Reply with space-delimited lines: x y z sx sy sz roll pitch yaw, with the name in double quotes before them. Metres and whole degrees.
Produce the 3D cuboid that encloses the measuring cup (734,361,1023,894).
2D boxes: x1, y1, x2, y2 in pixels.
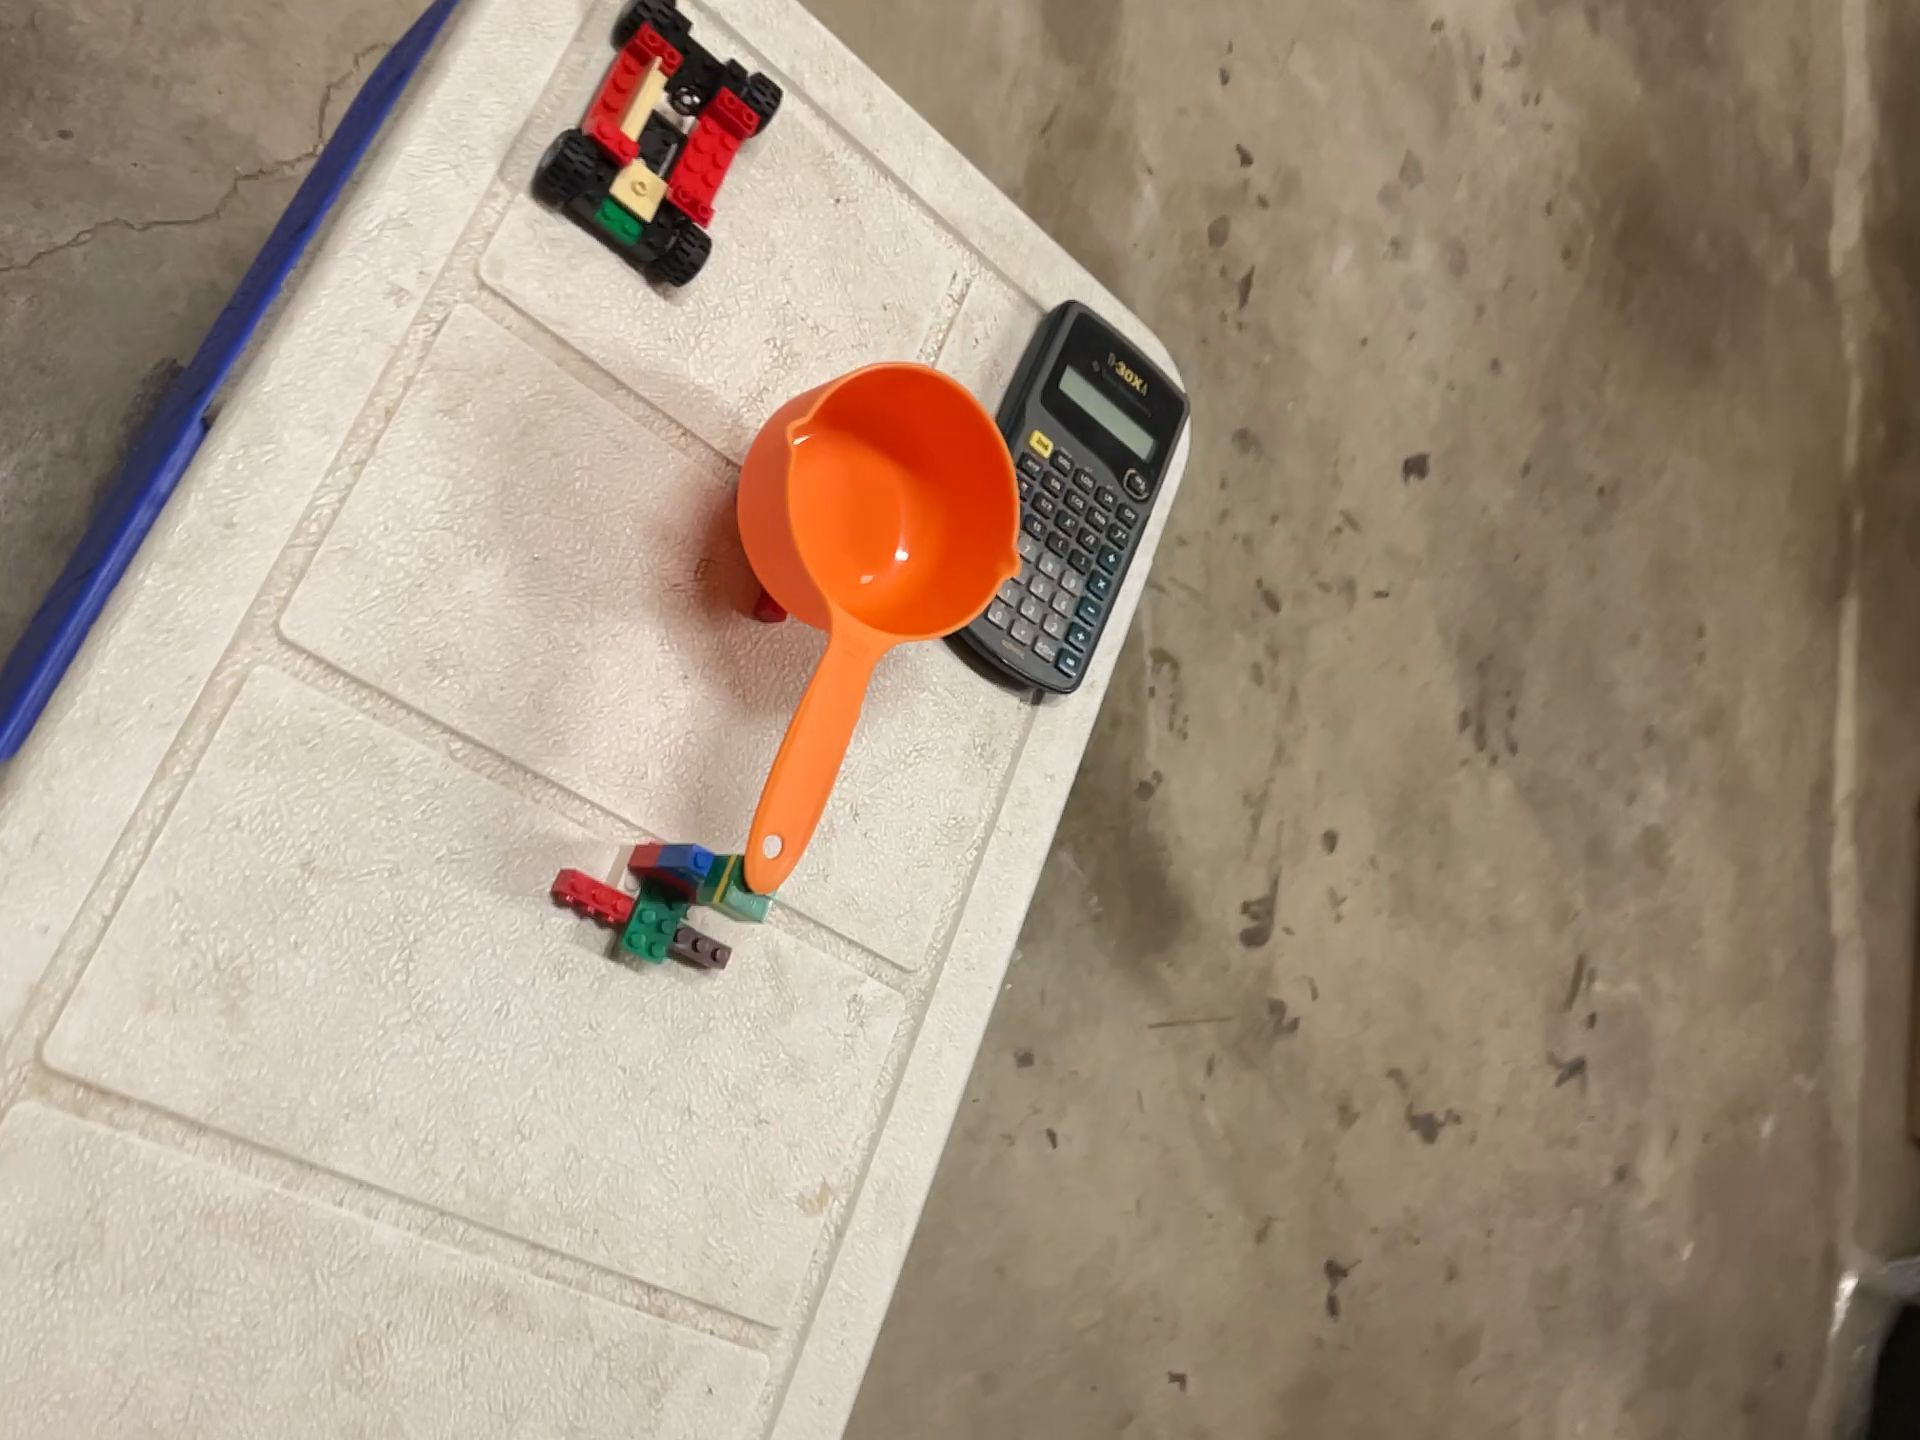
"measuring cup" -0.044 -0.030 0.510 0.095 0.052 0.174 28 76 -33
